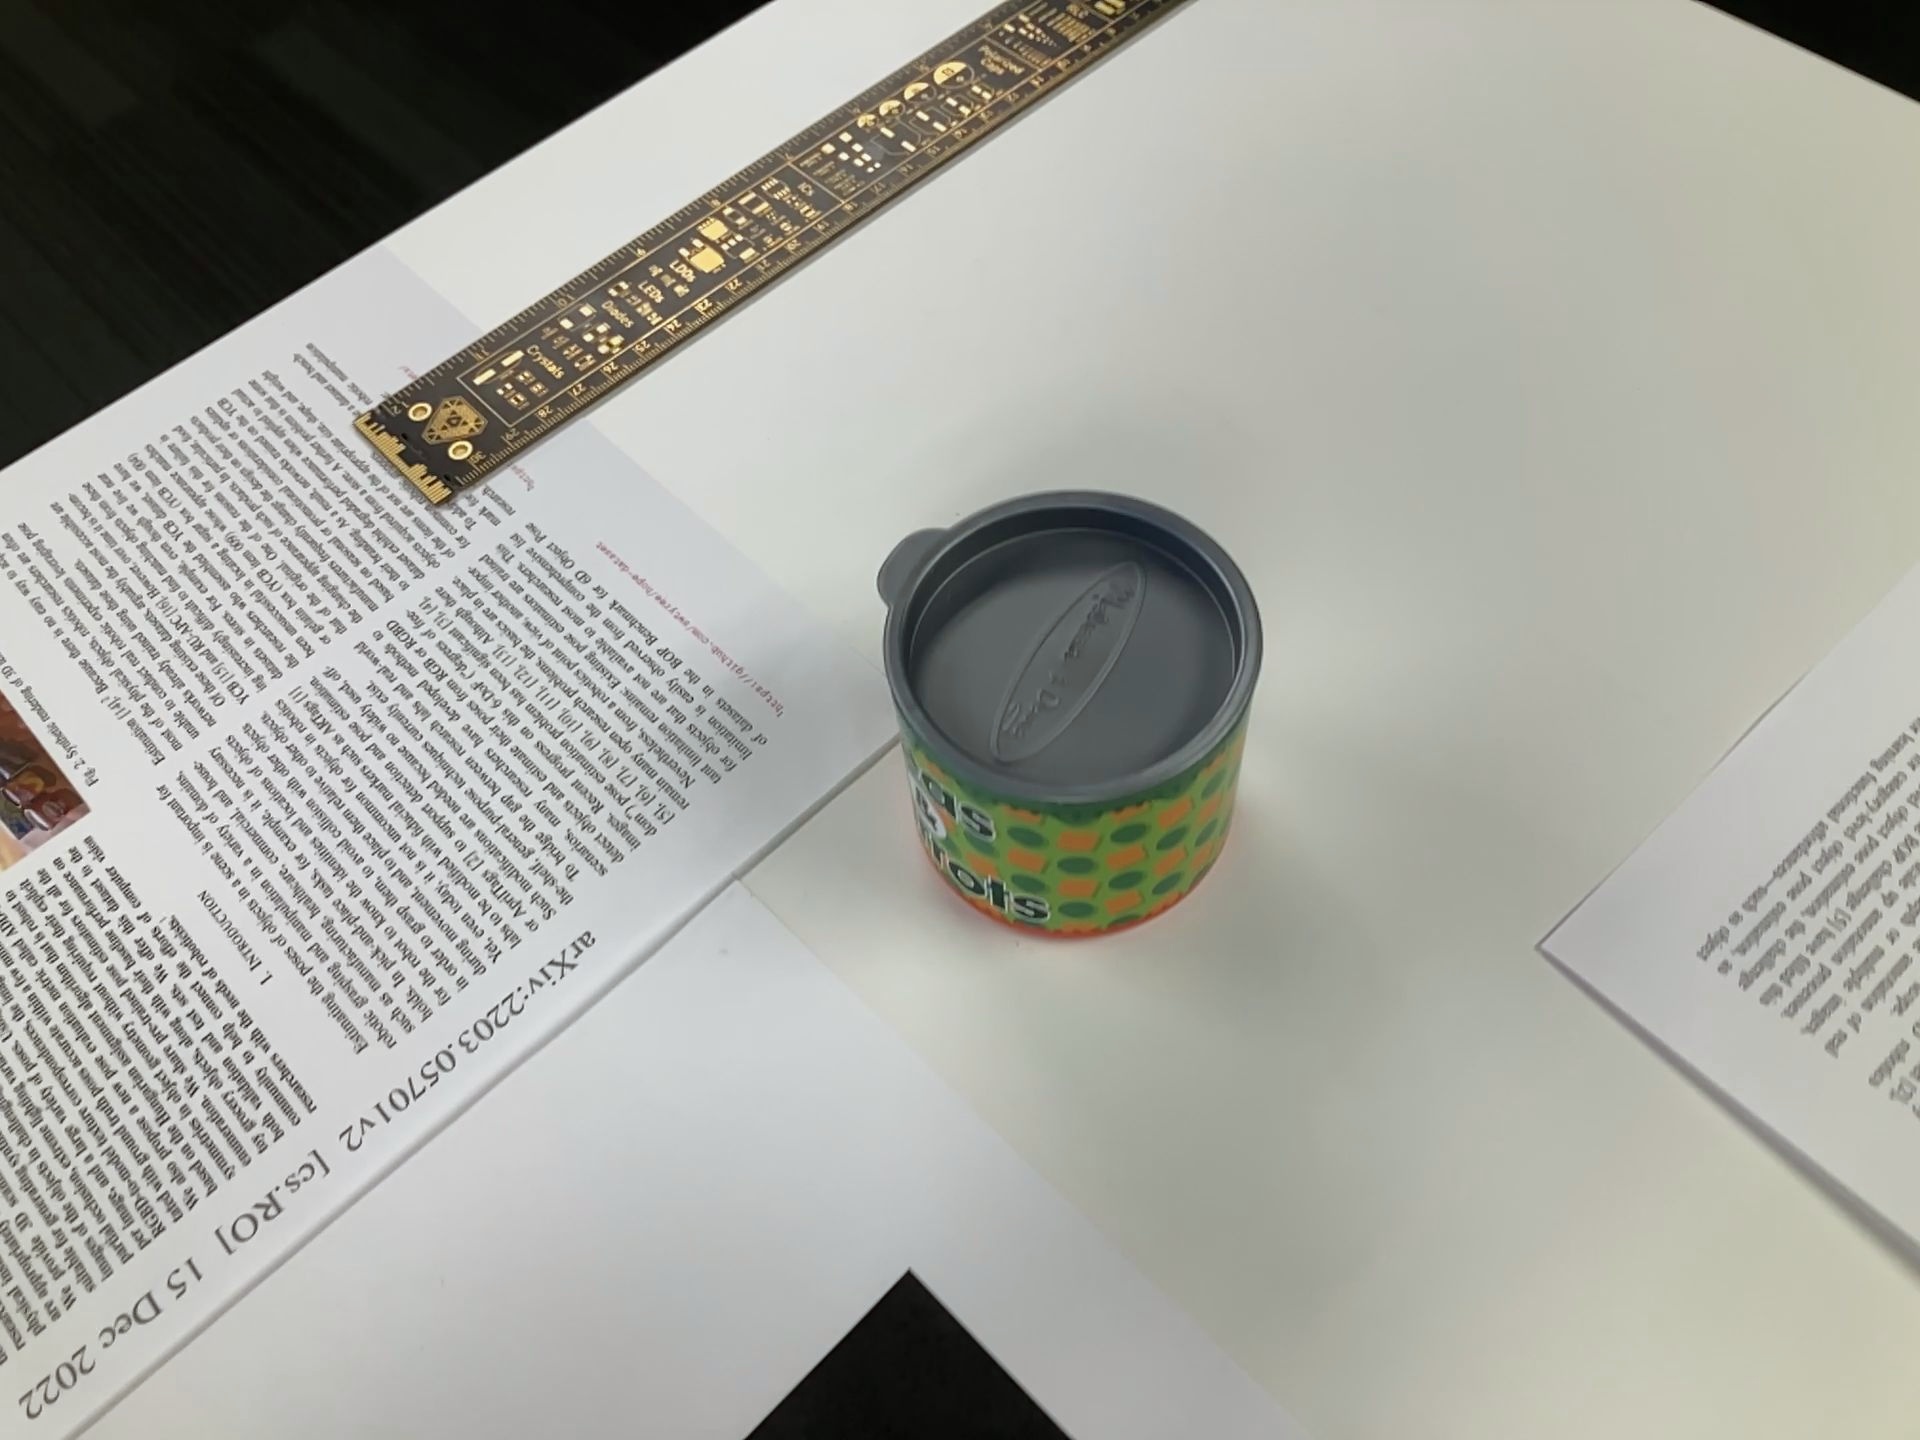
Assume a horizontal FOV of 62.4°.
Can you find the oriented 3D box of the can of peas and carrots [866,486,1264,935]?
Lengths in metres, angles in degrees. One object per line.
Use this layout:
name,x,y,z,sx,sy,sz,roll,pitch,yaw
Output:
can of peas and carrots,0.019,0.001,0.300,0.071,0.059,0.071,-2,58,3
